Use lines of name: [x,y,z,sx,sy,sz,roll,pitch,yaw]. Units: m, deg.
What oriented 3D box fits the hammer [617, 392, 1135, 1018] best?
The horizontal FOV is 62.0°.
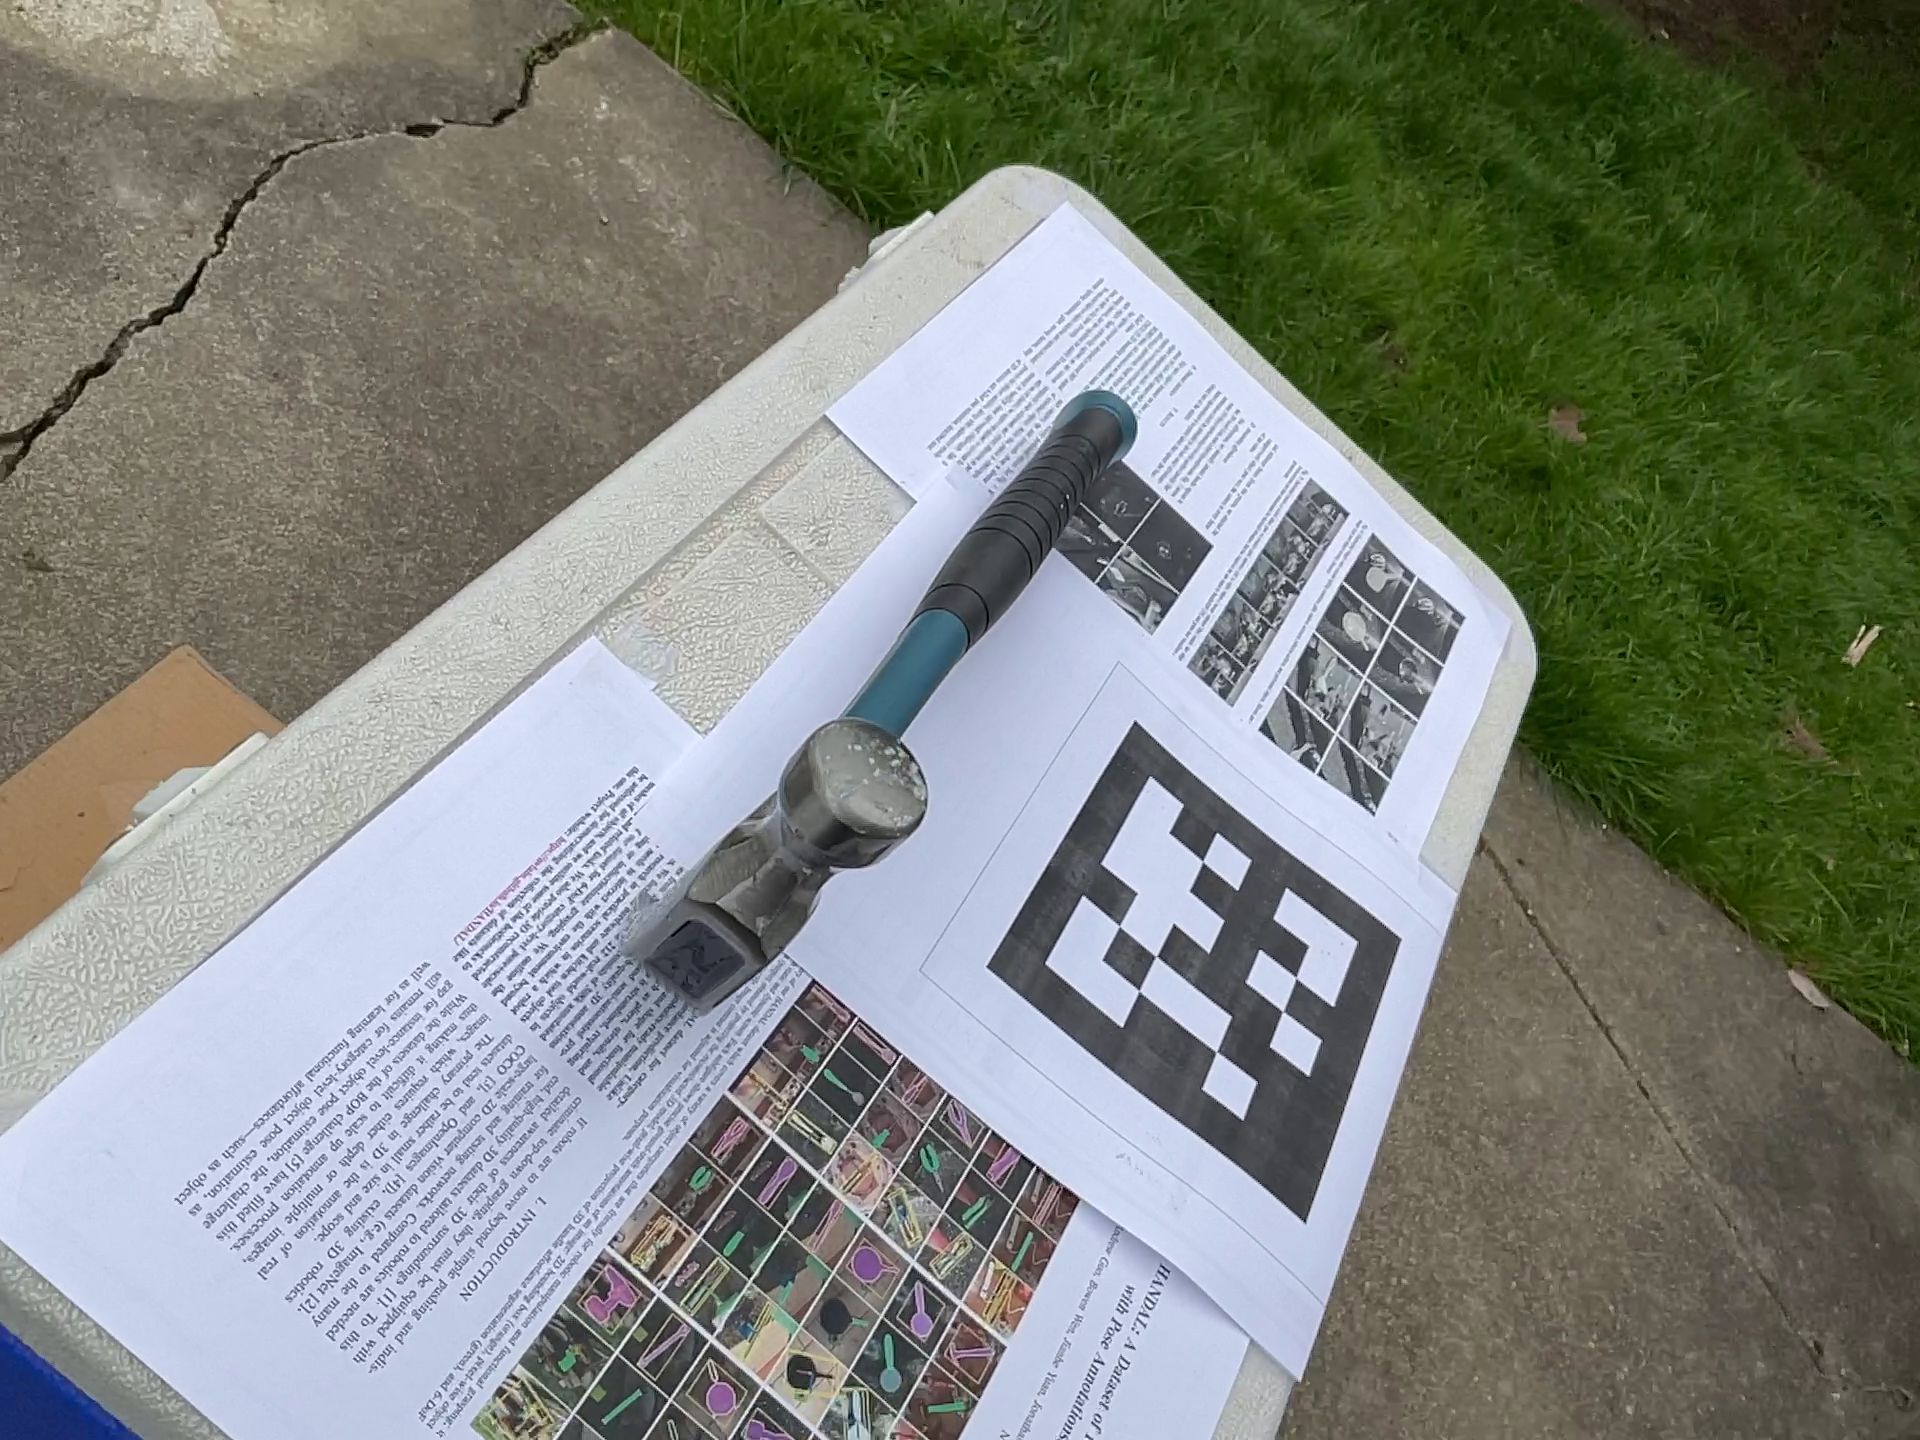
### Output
hammer: [-0.004,-0.029,0.490,0.033,0.128,0.331,42,37,-6]
